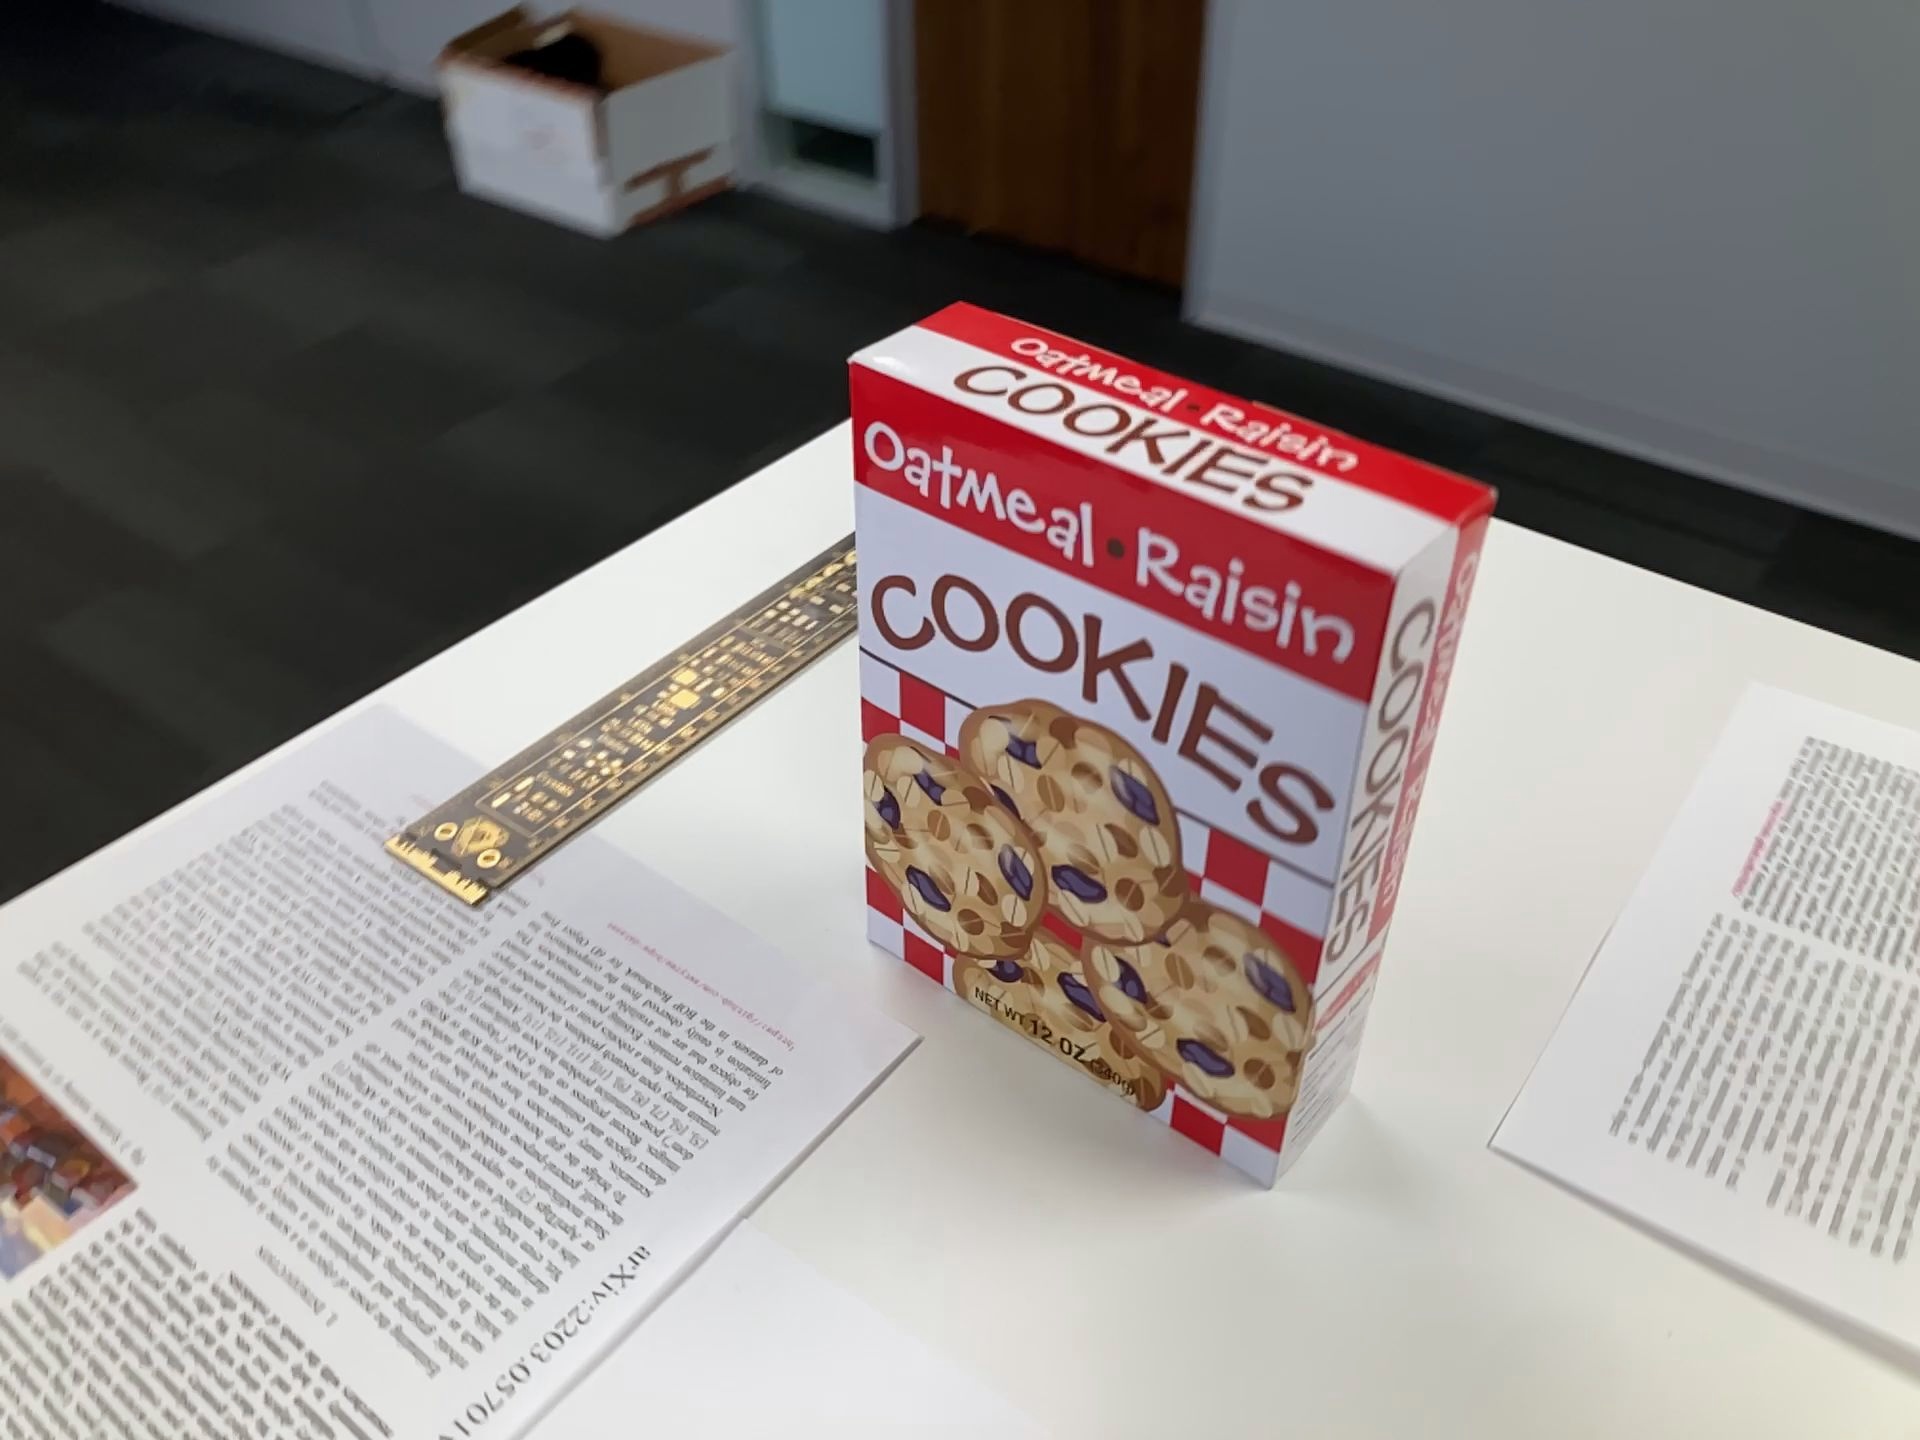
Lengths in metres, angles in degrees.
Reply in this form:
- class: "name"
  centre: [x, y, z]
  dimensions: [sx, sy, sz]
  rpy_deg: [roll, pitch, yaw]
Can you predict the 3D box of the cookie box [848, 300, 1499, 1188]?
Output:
- class: "cookie box"
  centre: [0.036, 0.007, 0.345]
  dimensions: [0.123, 0.167, 0.040]
  rpy_deg: [27, 46, 30]
